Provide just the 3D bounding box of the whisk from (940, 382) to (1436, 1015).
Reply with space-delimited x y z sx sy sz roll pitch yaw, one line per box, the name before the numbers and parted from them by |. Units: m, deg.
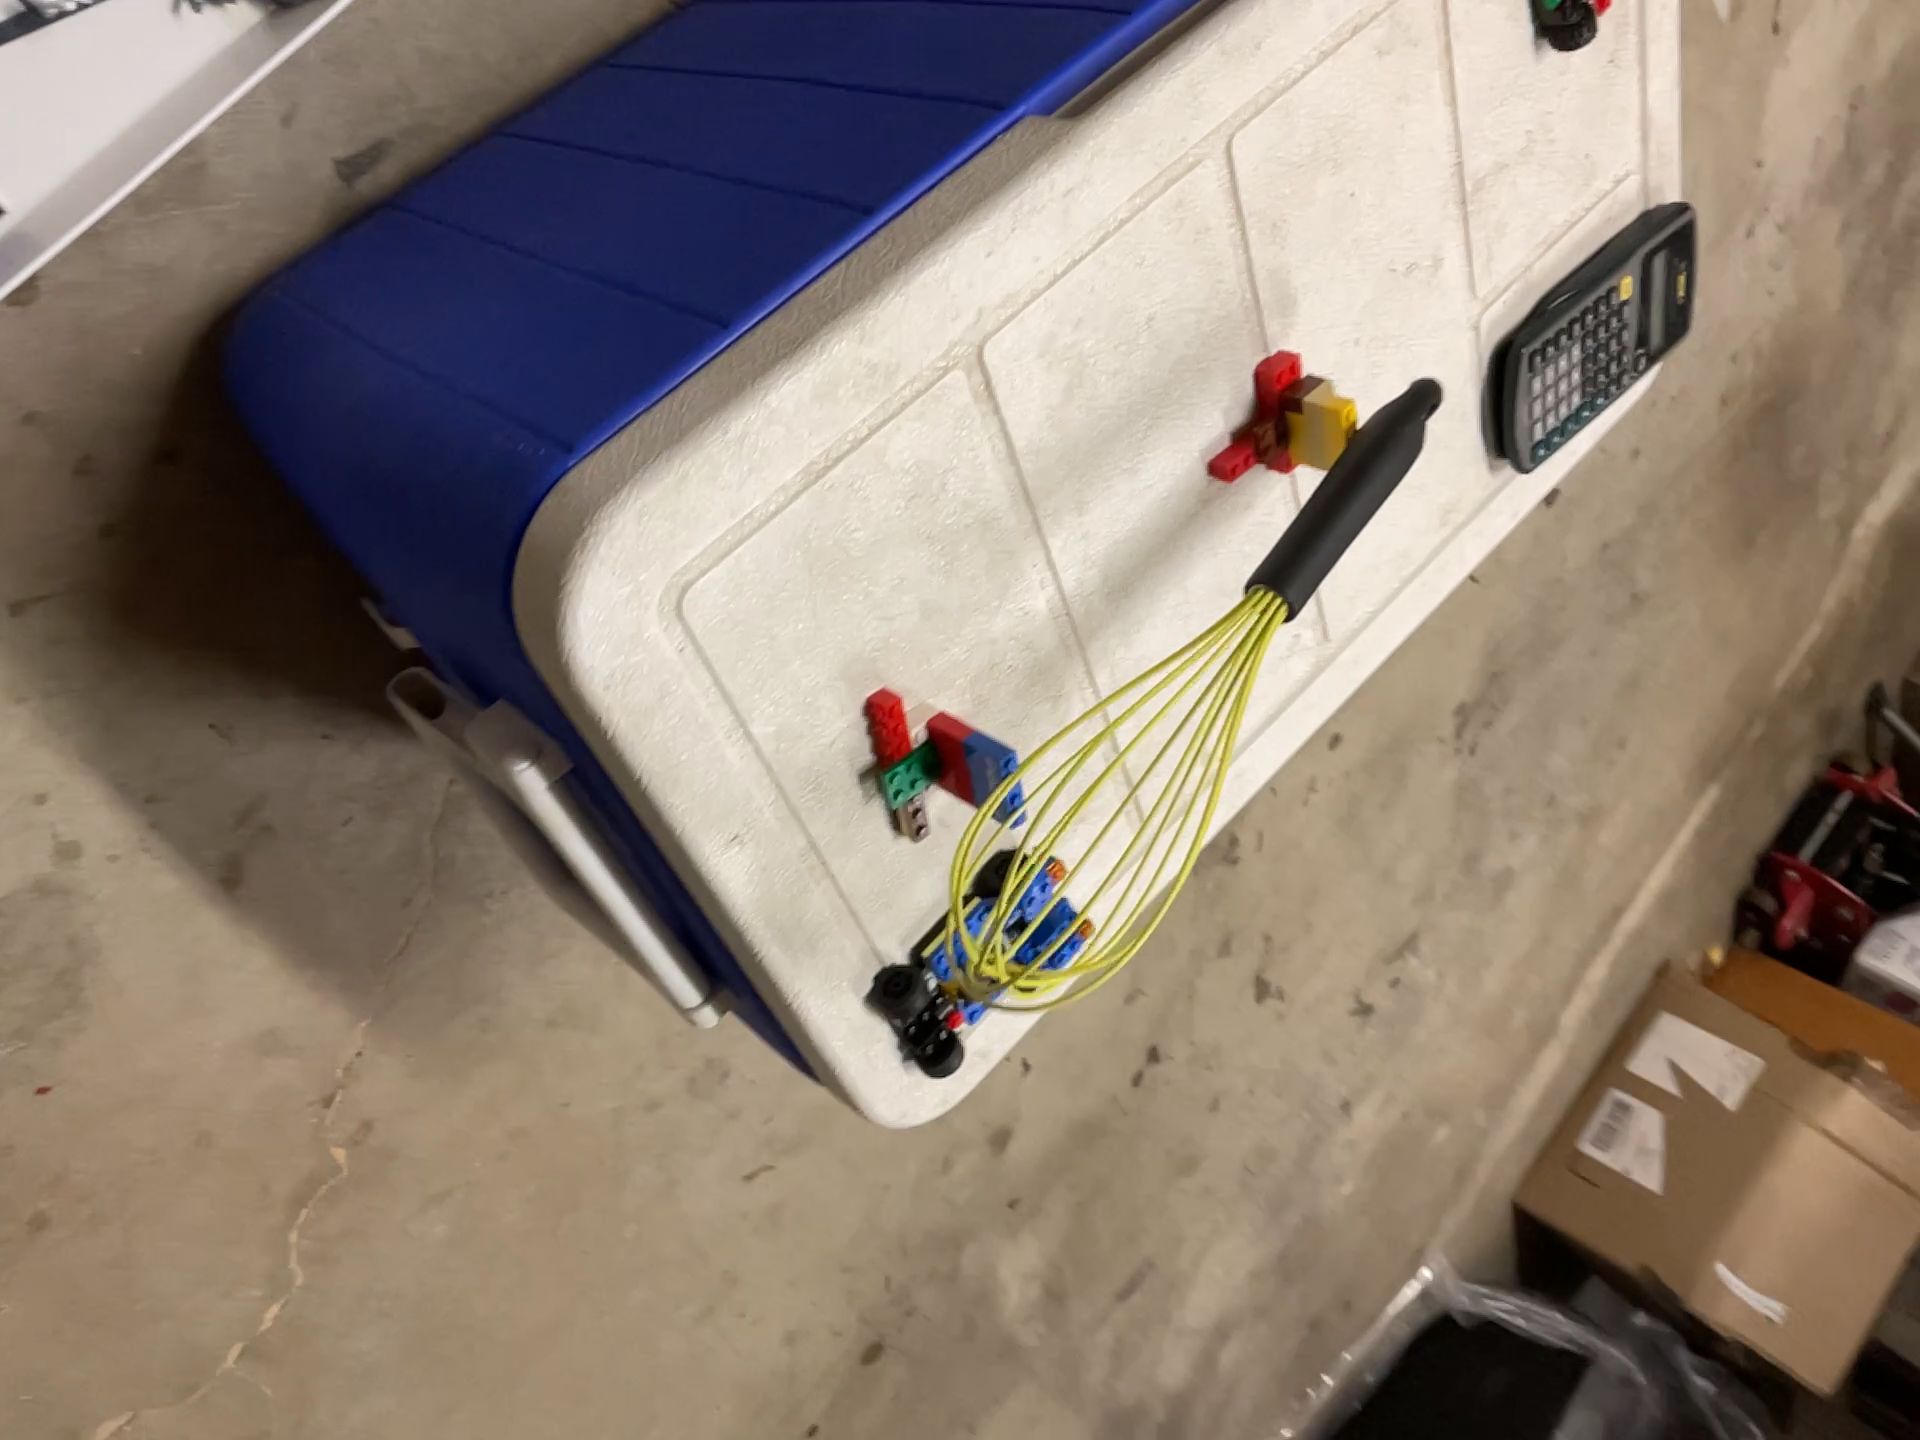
whisk | 0.093 -0.022 0.569 0.312 0.067 0.080 -51 -176 -24
